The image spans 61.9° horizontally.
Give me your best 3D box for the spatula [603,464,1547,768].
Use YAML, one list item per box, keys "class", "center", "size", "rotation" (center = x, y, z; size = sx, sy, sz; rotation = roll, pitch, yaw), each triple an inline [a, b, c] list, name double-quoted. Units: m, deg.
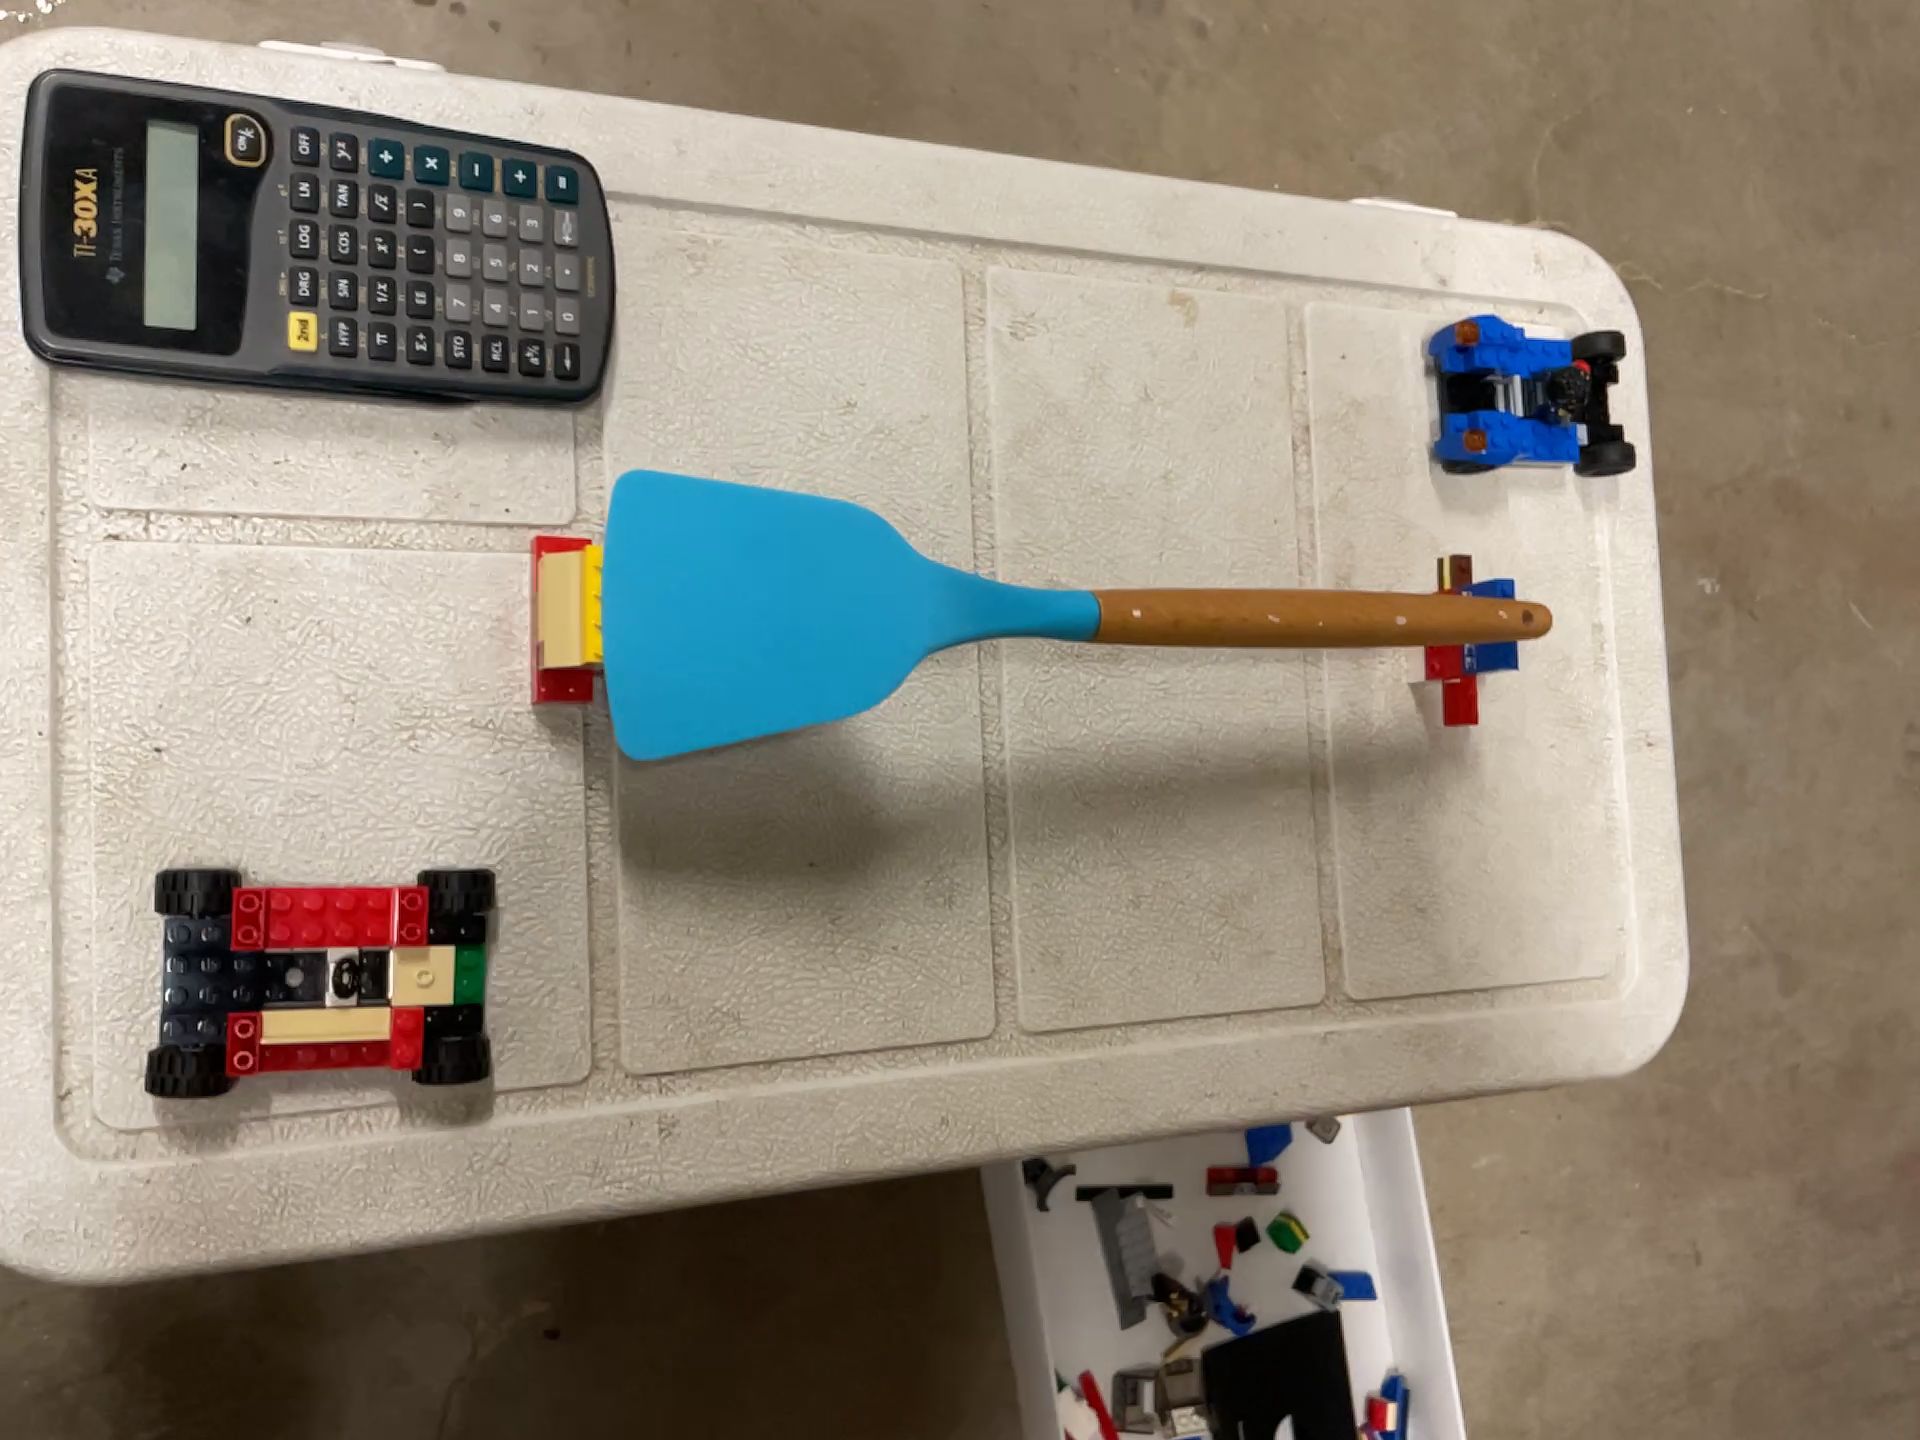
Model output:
- class: "spatula"
  center: [0.054, -0.031, 0.487]
  size: [0.318, 0.044, 0.082]
  rotation: [0, 85, -28]
